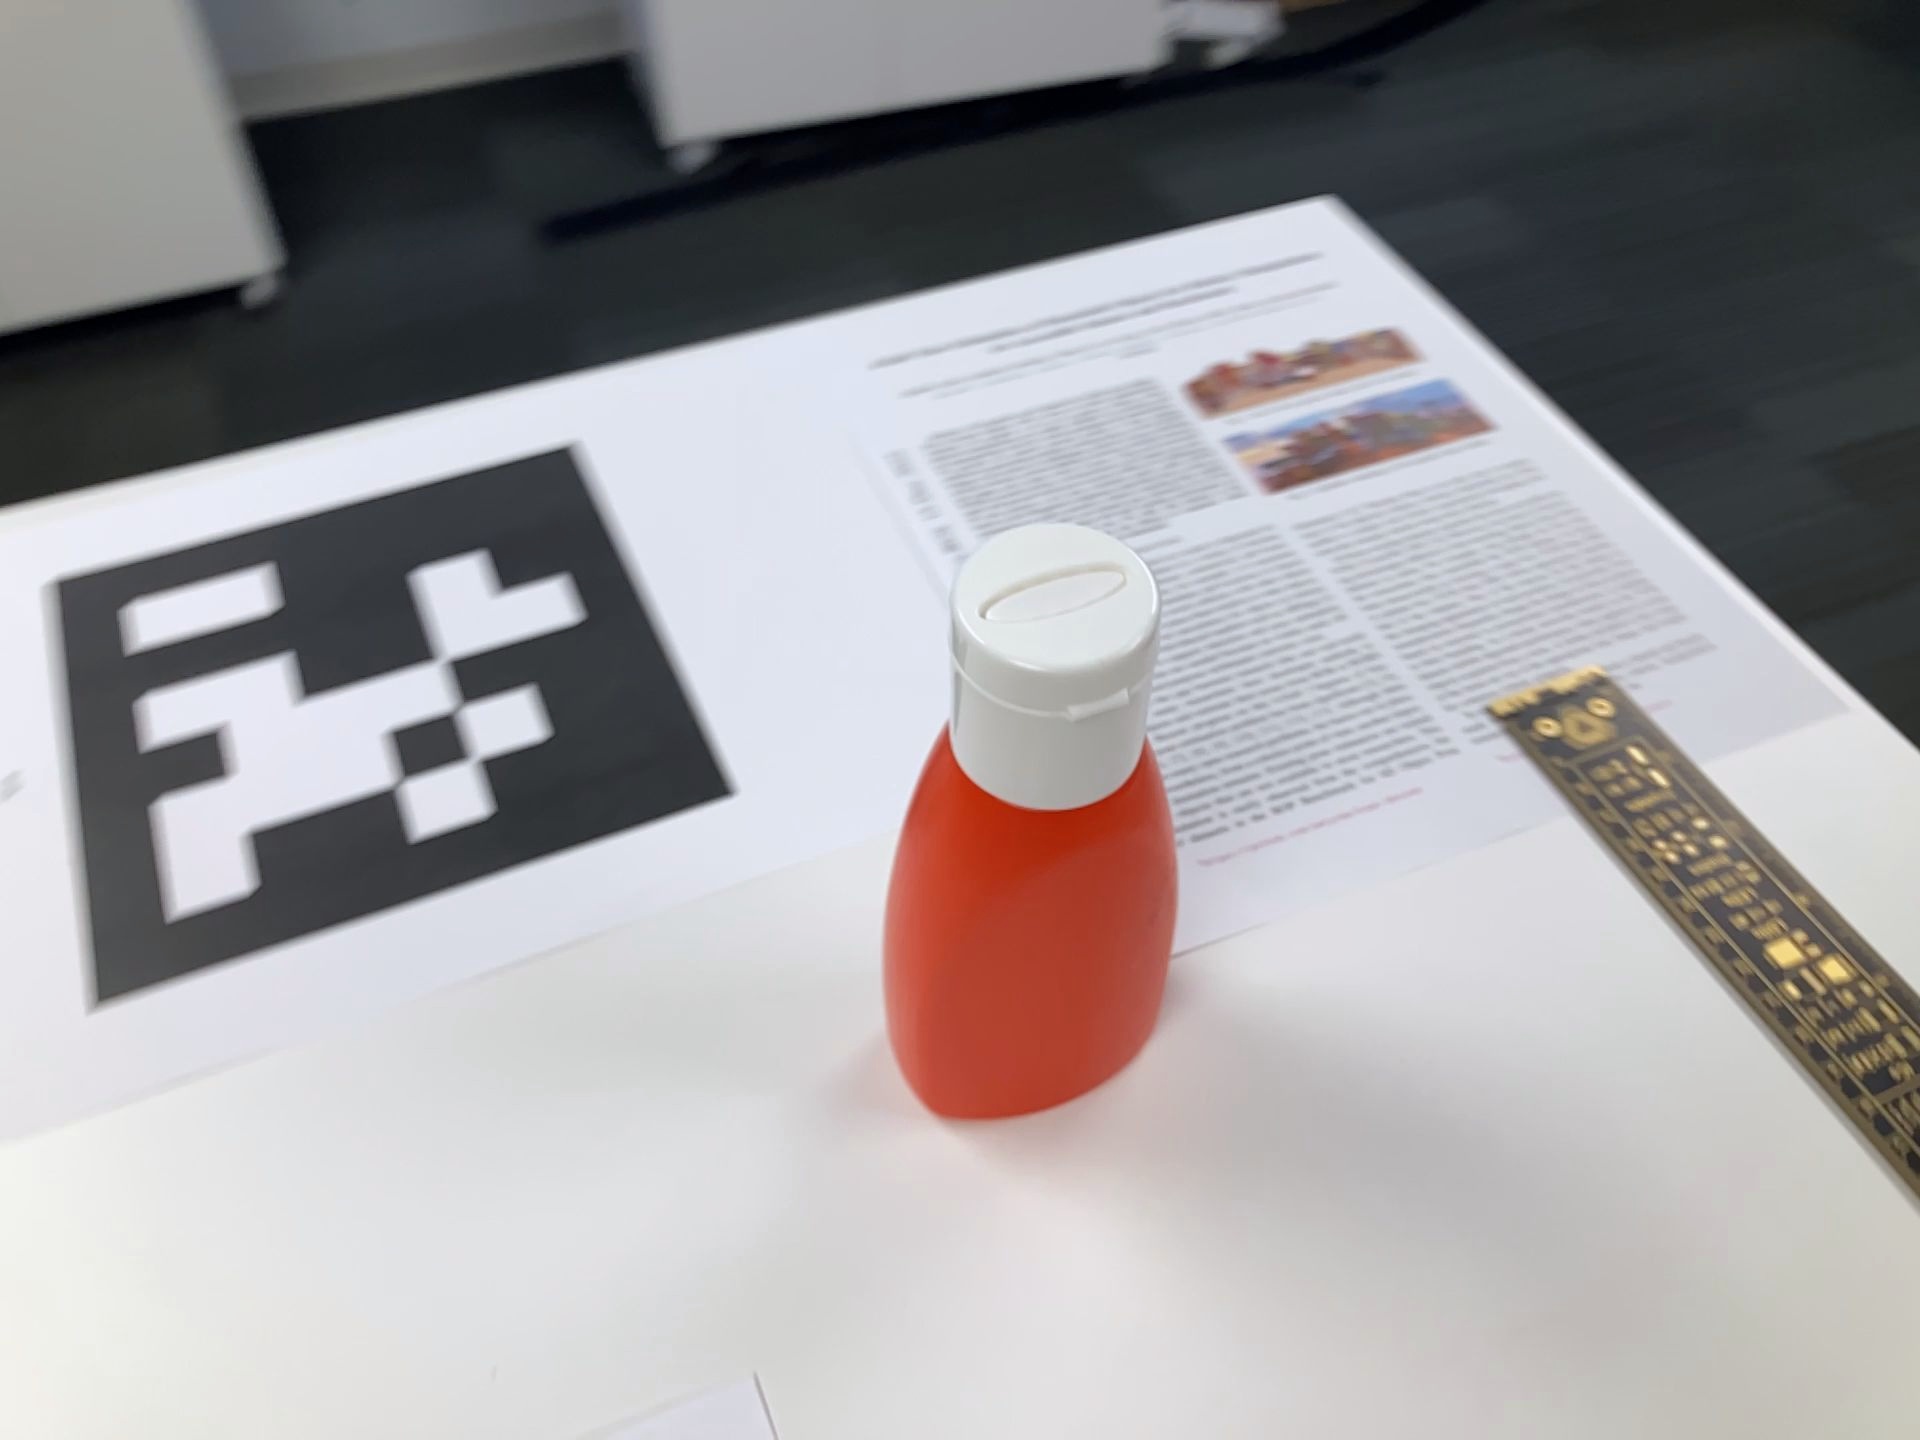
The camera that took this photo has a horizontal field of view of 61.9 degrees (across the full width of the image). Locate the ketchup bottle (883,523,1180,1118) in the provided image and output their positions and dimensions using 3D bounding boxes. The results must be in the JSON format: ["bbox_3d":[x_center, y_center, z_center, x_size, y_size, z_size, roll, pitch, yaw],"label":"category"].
[{"bbox_3d":[0.016,0.027,0.324,0.065,0.149,0.043,-17,52,-15],"label":"ketchup bottle"}]
